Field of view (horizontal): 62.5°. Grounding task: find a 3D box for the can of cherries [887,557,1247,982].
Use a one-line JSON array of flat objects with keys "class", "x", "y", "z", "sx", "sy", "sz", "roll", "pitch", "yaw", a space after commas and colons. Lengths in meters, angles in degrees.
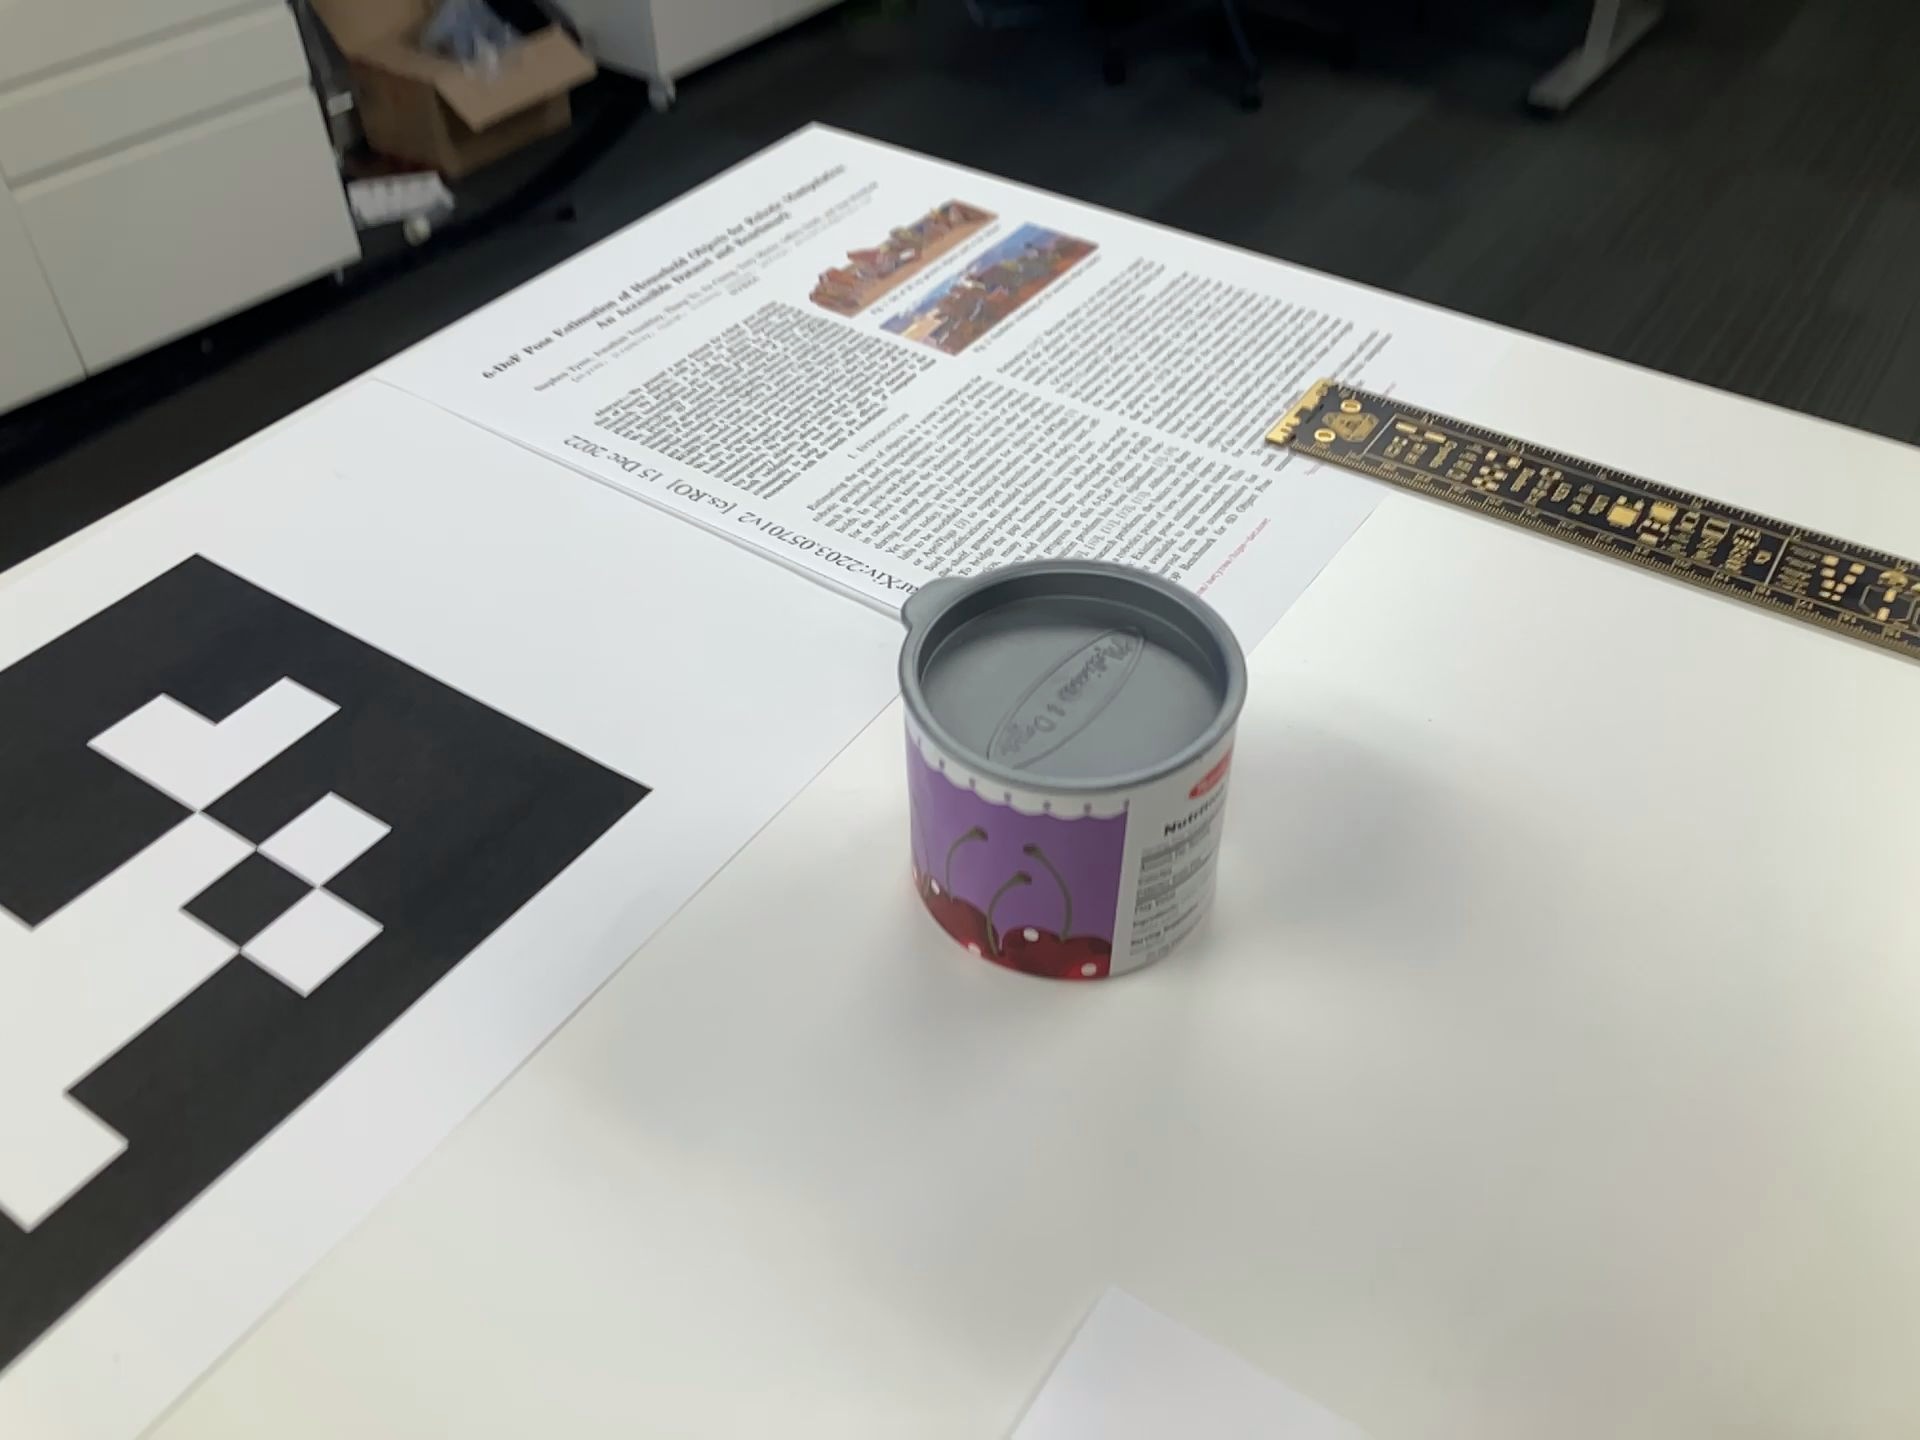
[{"class": "can of cherries", "x": 0.019, "y": 0.009, "z": 0.322, "sx": 0.071, "sy": 0.058, "sz": 0.071, "roll": 0, "pitch": 44, "yaw": 0}]
